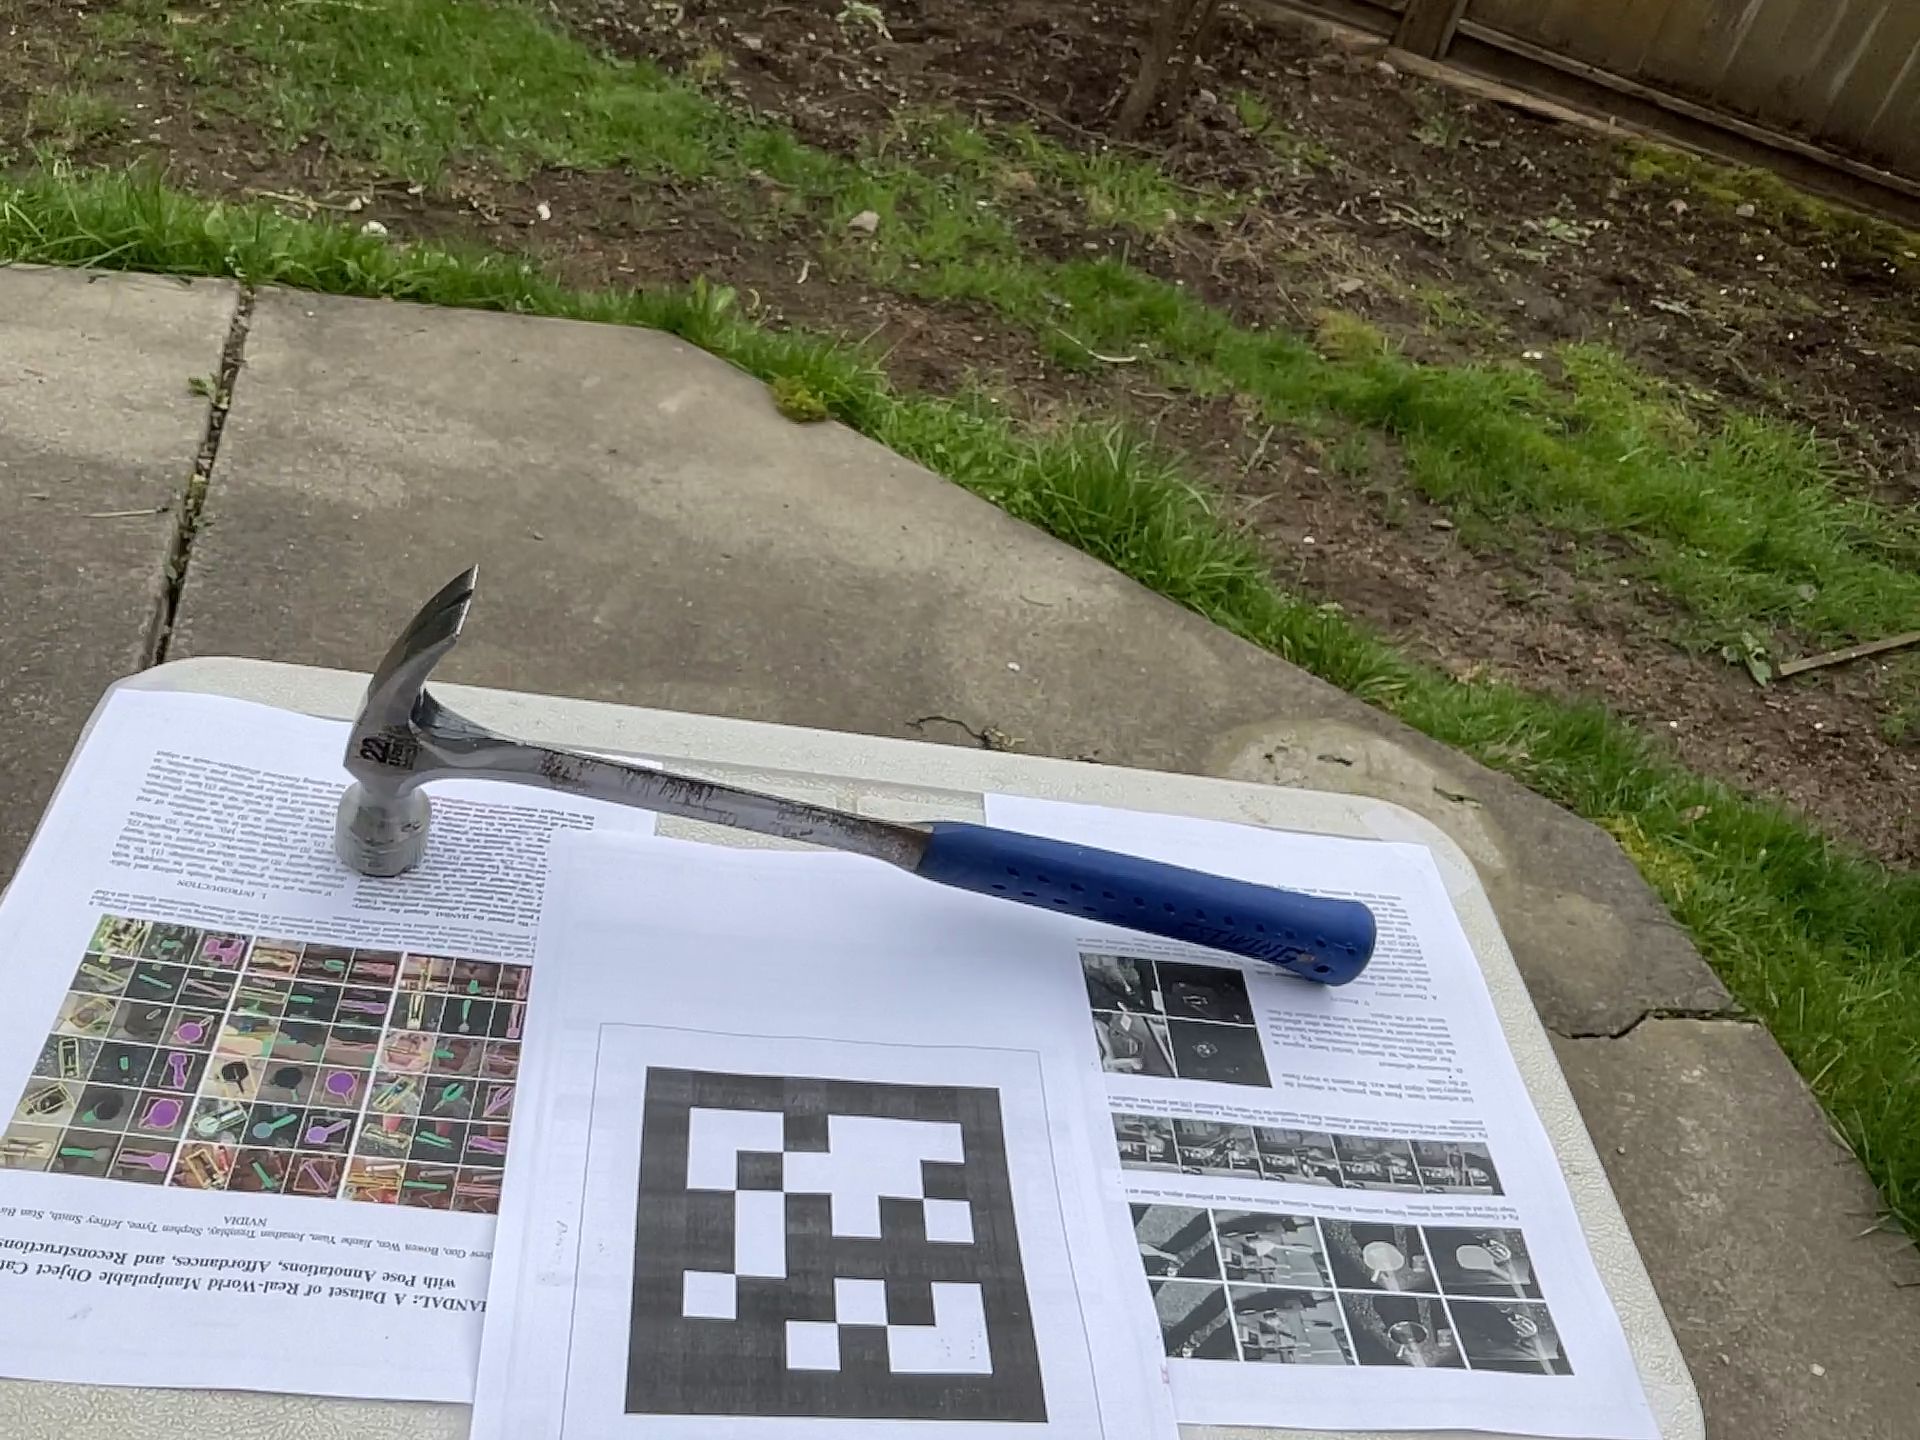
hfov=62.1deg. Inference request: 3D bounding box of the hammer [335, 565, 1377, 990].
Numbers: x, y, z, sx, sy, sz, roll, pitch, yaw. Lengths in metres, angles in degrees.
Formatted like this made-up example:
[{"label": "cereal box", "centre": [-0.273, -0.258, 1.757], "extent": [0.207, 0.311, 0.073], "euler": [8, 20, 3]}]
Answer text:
[{"label": "hammer", "centre": [-0.024, 0.045, 0.613], "extent": [0.405, 0.144, 0.035], "euler": [14, 45, -15]}]
